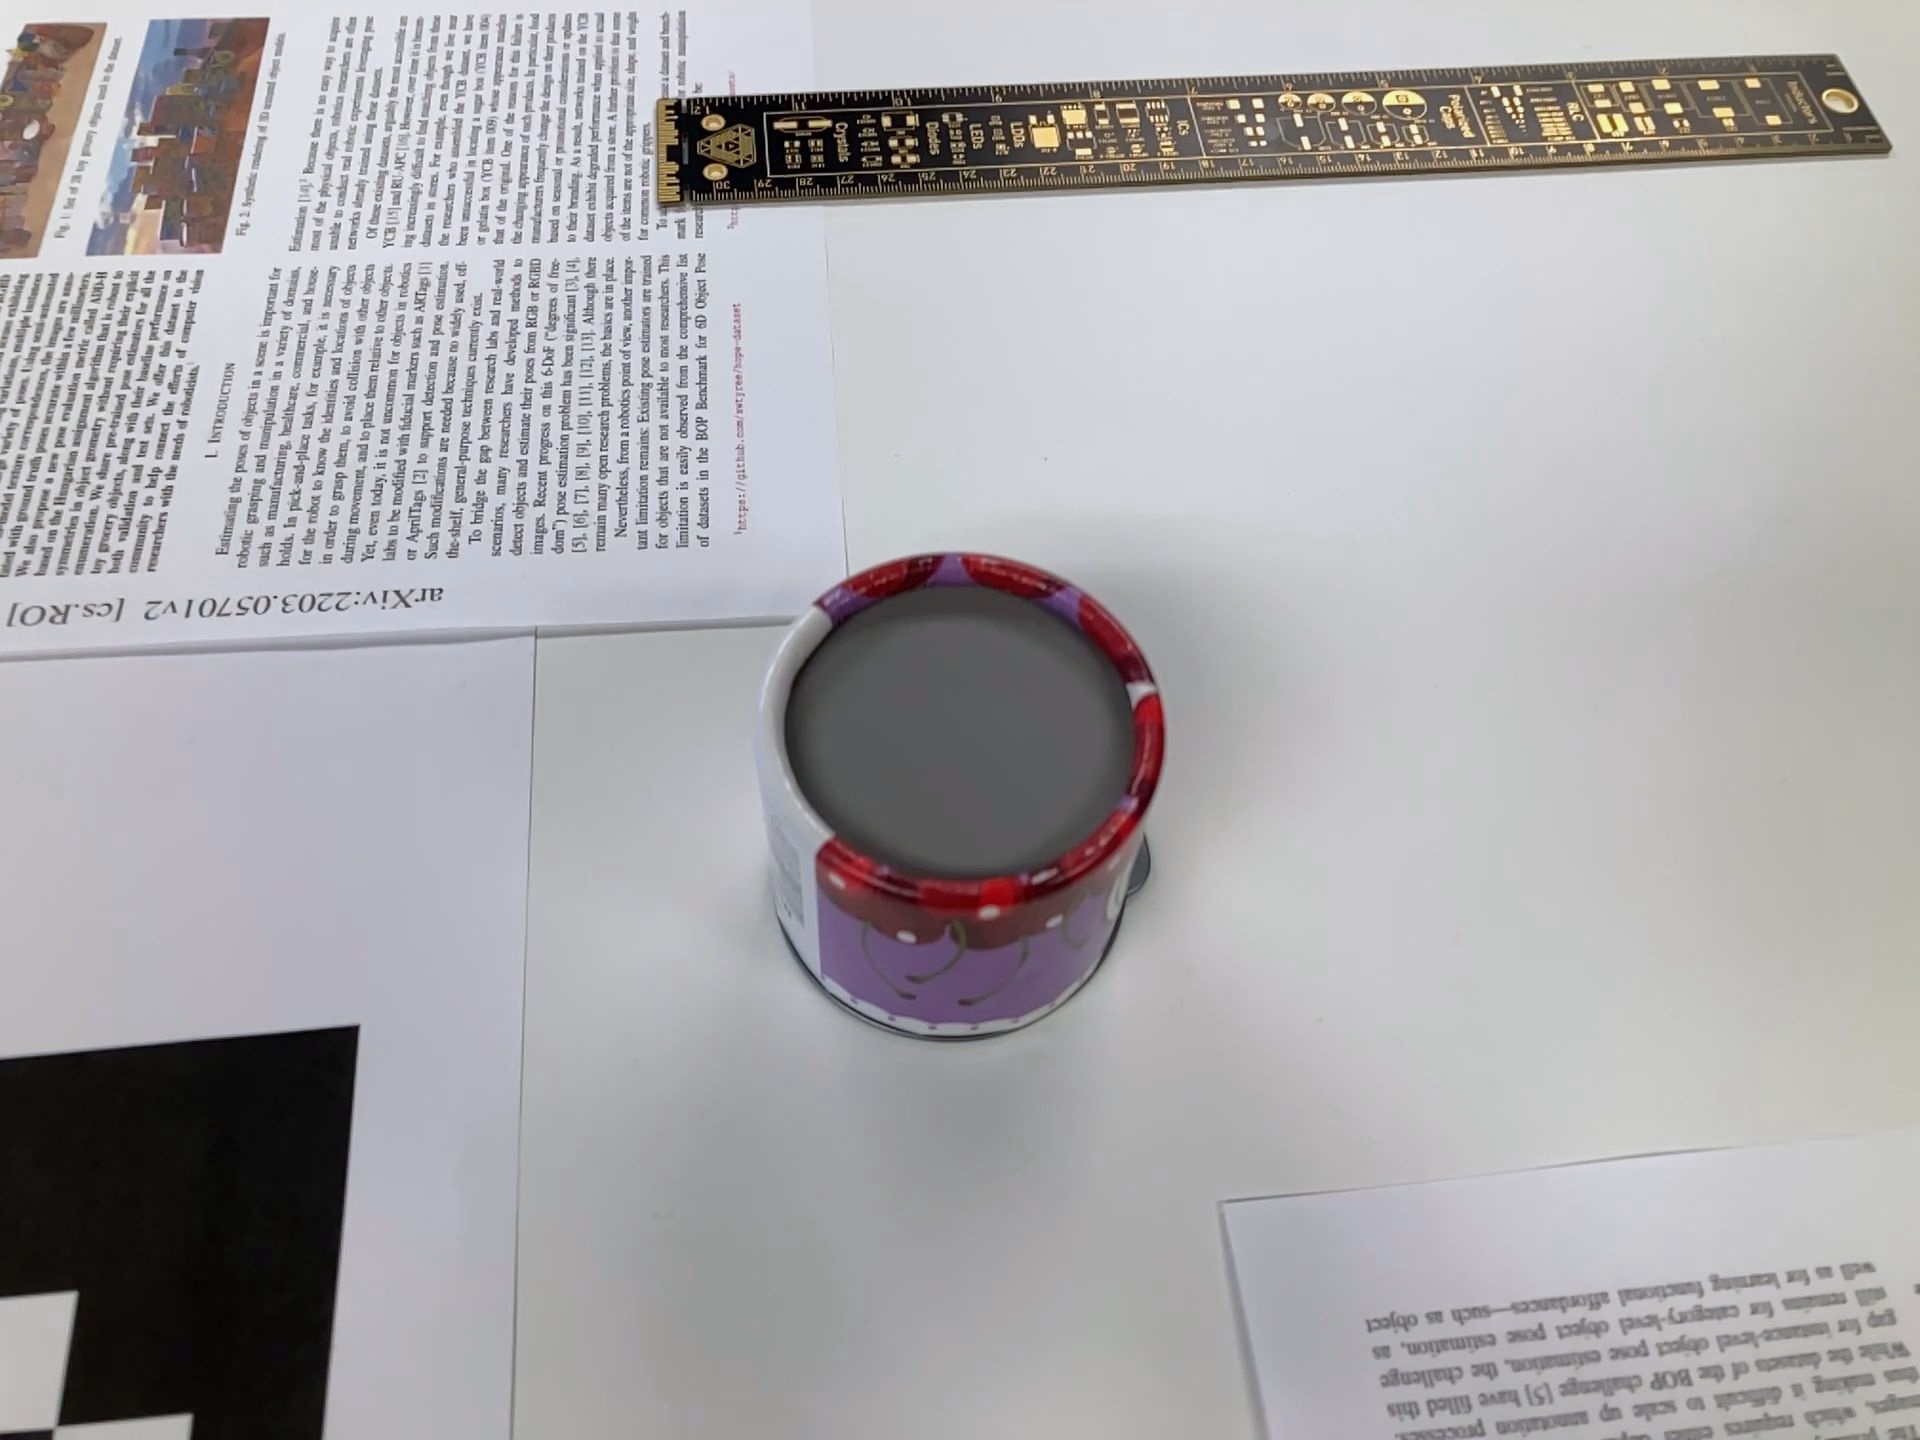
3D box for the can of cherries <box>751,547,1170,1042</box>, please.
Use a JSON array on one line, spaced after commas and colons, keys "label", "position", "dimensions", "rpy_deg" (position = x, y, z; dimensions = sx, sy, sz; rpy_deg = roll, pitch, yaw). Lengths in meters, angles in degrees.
[{"label": "can of cherries", "position": [0.002, 0.013, 0.270], "dimensions": [0.071, 0.058, 0.071], "rpy_deg": [1, 58, -2]}]
